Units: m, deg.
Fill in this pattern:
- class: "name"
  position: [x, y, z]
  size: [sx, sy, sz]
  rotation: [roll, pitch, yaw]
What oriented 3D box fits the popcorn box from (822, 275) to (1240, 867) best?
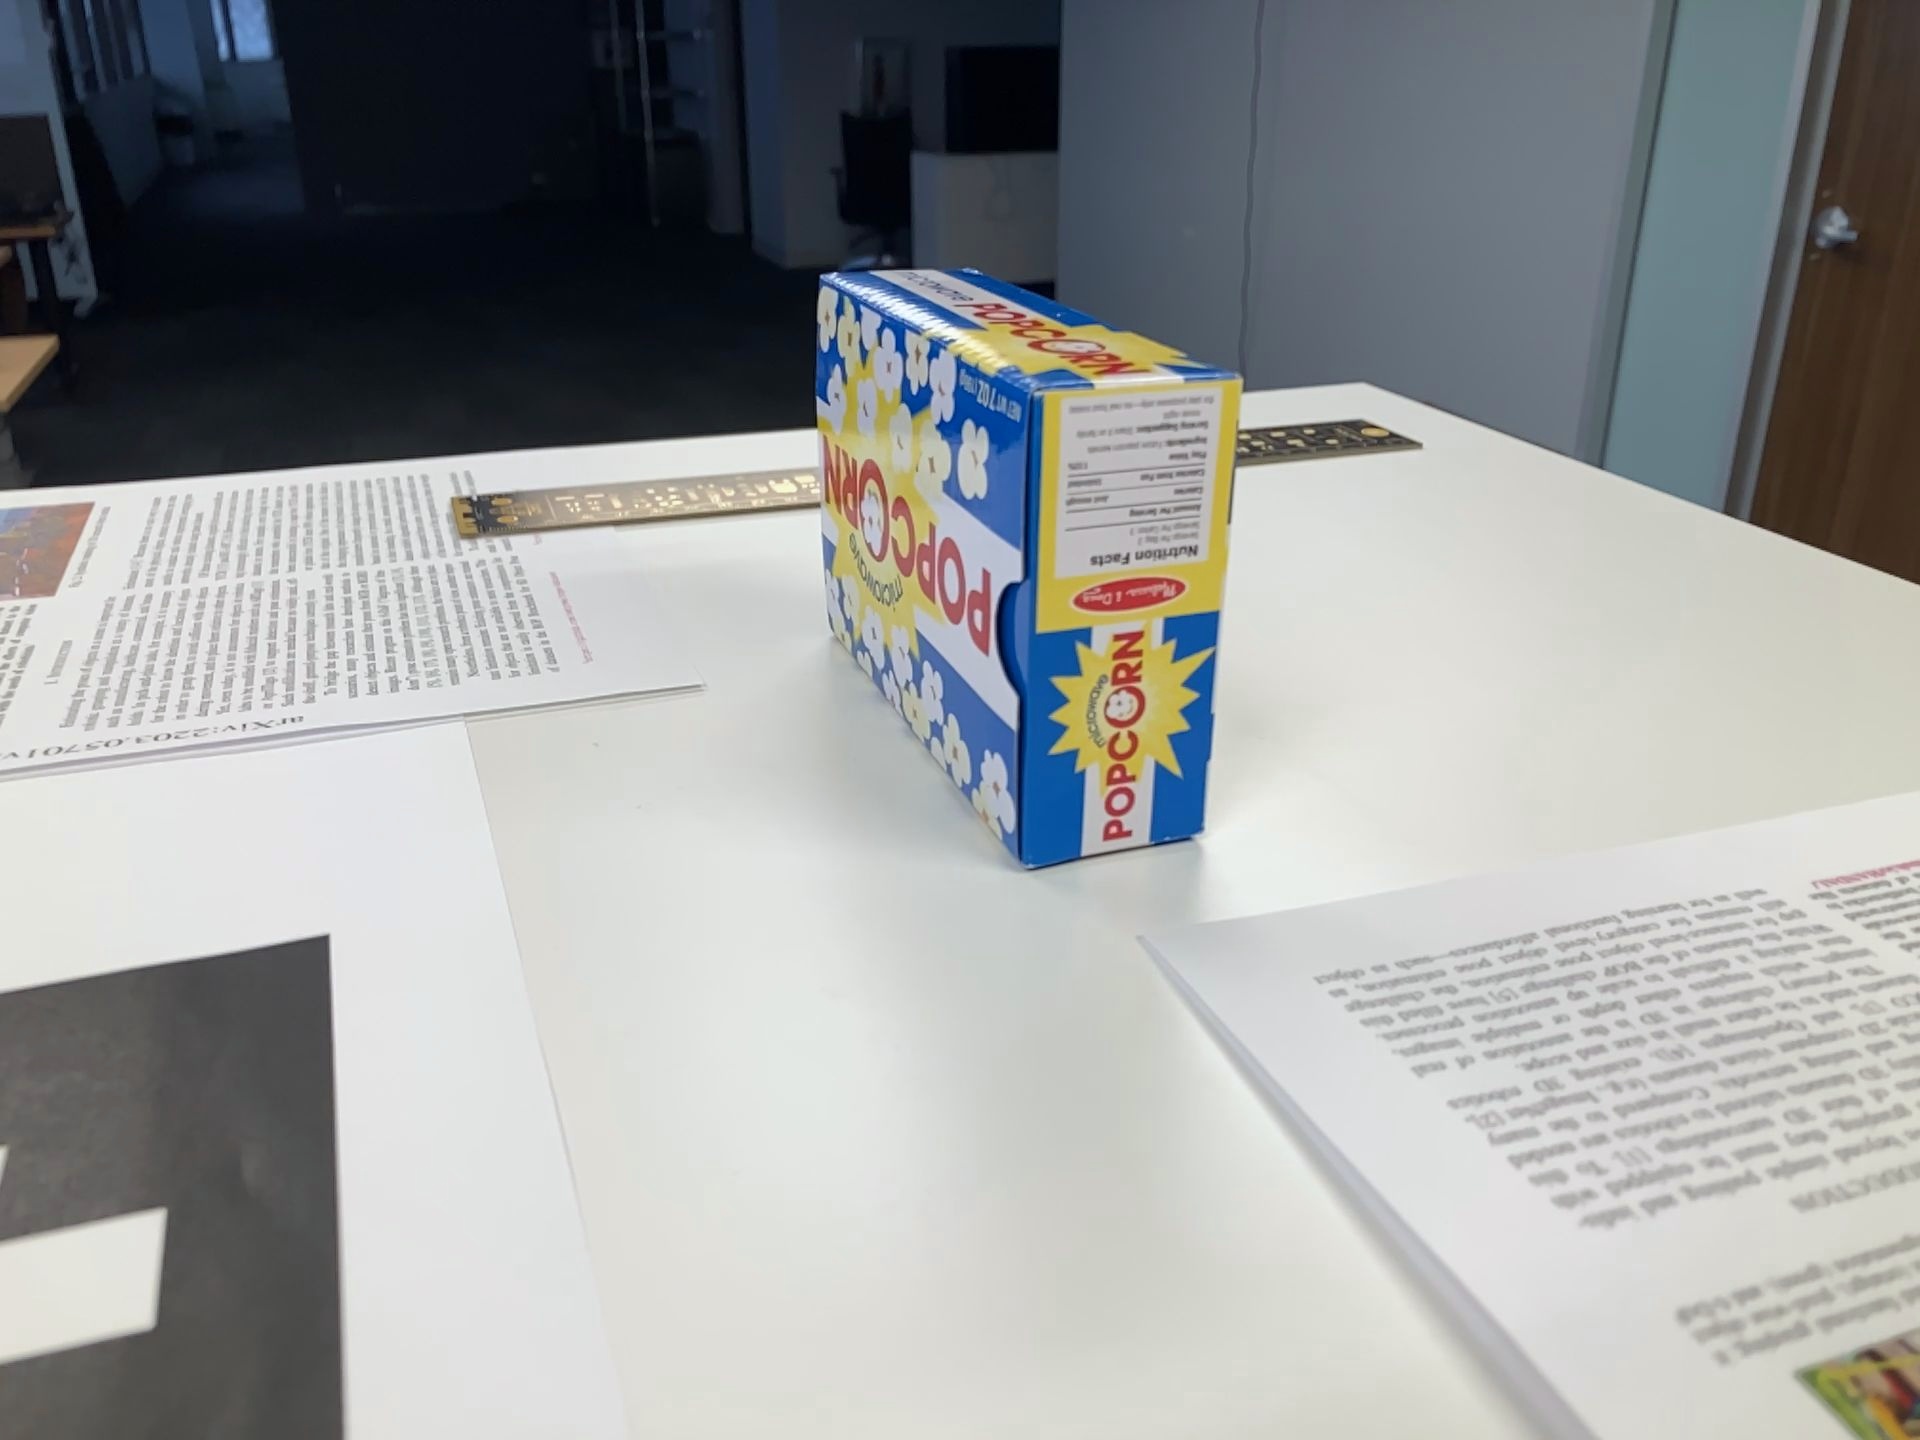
- class: "popcorn box"
  position: [0.007, -0.038, 0.319]
  size: [0.038, 0.085, 0.126]
  rotation: [-7, 24, -19]
